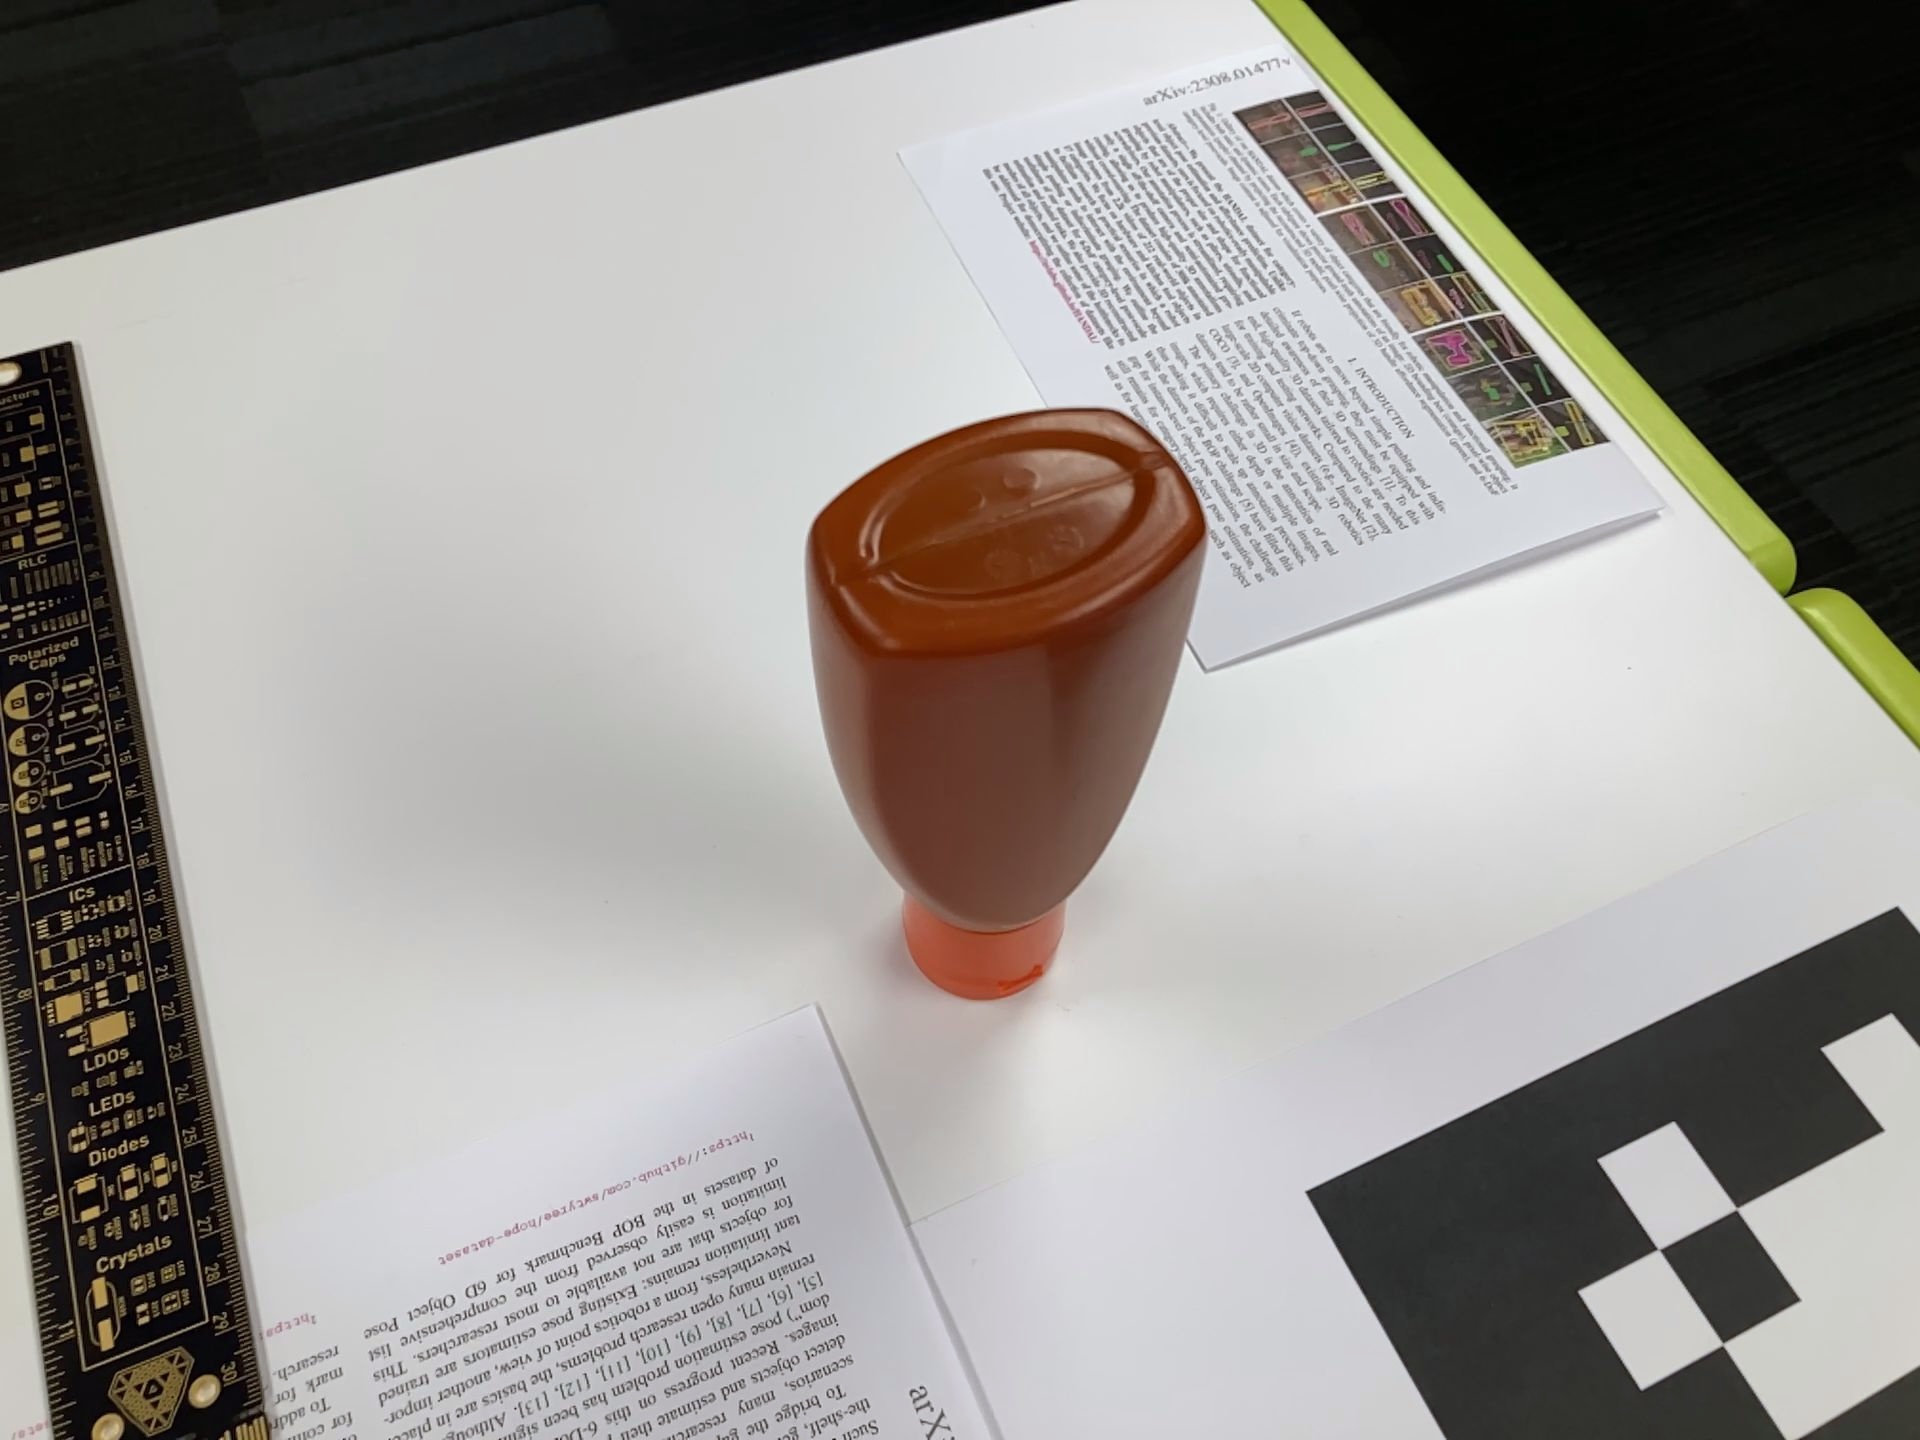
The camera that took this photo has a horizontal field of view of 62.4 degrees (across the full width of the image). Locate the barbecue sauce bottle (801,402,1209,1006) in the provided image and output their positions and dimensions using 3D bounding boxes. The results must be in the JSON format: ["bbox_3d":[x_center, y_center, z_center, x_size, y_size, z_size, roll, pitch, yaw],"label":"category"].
[{"bbox_3d":[0.006,0.009,0.300,0.065,0.148,0.043,-22,60,-14],"label":"barbecue sauce bottle"}]
